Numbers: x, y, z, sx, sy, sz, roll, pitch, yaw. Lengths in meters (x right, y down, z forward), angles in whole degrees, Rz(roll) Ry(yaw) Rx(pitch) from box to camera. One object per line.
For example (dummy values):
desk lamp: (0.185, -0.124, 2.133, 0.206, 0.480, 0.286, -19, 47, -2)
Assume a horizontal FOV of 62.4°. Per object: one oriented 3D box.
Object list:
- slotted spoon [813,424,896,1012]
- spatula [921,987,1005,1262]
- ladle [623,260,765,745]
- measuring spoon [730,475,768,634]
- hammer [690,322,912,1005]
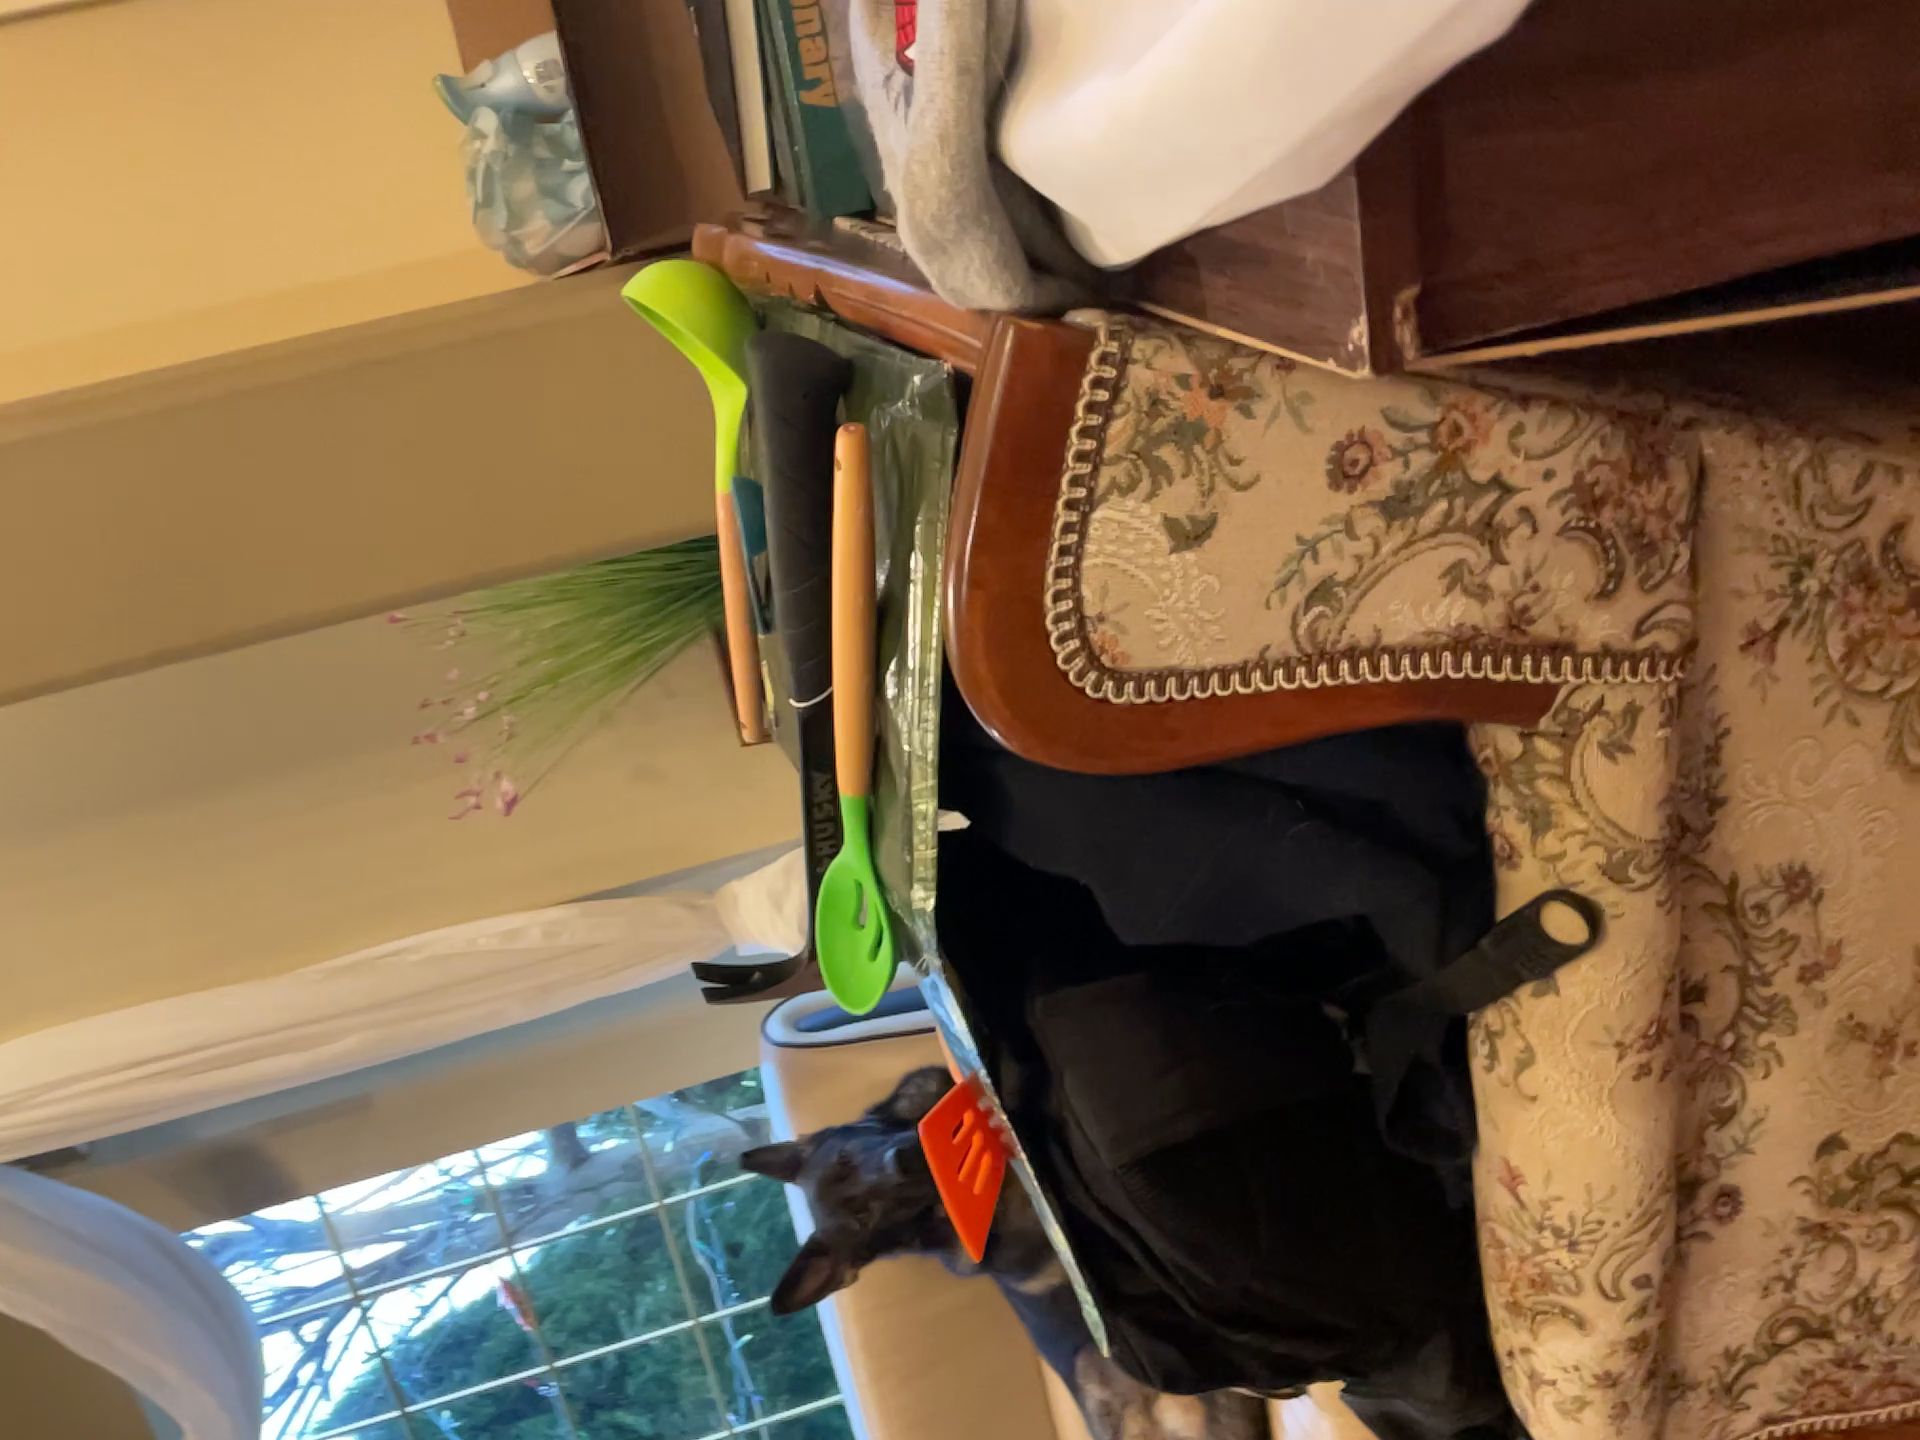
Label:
slotted spoon: (-0.046, 0.012, 0.709, 0.070, 0.031, 0.313, 47, 145, 42)
spatula: (-0.009, 0.205, 0.949, 0.323, 0.041, 0.081, -124, 13, -77)
ladle: (-0.135, -0.104, 0.883, 0.078, 0.062, 0.320, 37, 142, 34)
measuring spoon: (-0.103, -0.084, 0.839, 0.128, 0.021, 0.042, 92, 164, -61)
hammer: (-0.075, -0.005, 0.784, 0.036, 0.149, 0.408, -125, 26, -44)
